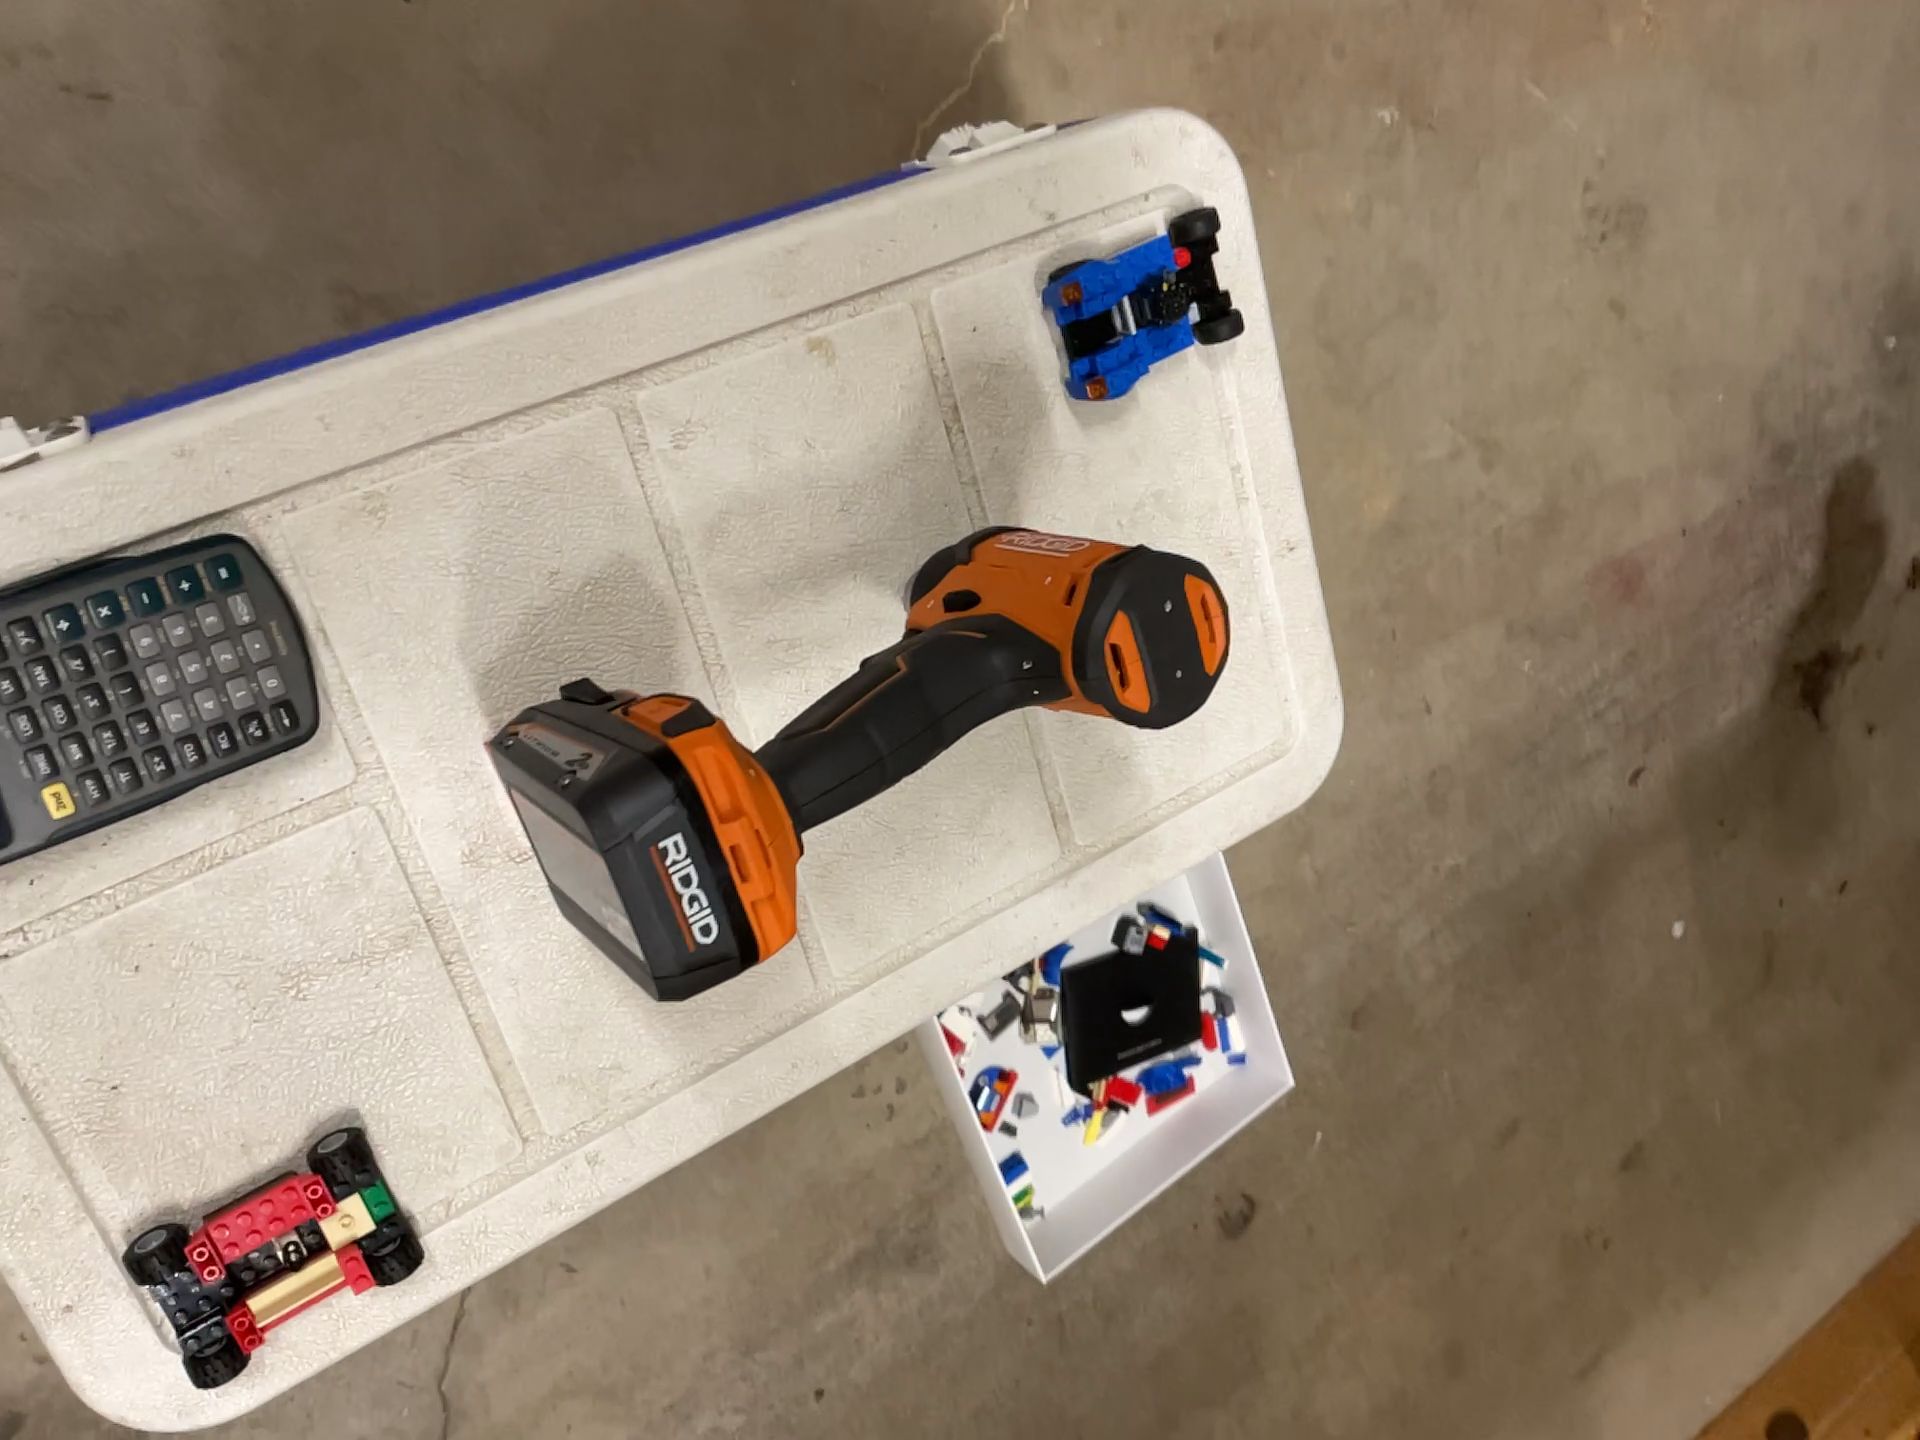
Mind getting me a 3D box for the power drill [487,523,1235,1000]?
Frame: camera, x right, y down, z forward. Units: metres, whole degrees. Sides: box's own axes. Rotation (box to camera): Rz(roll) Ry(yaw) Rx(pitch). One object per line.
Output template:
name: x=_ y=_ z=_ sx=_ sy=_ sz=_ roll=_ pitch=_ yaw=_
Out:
power drill: x=-0.039 y=-0.004 z=0.556 sx=0.226 sy=0.164 sz=0.084 roll=-27 pitch=113 yaw=-24
